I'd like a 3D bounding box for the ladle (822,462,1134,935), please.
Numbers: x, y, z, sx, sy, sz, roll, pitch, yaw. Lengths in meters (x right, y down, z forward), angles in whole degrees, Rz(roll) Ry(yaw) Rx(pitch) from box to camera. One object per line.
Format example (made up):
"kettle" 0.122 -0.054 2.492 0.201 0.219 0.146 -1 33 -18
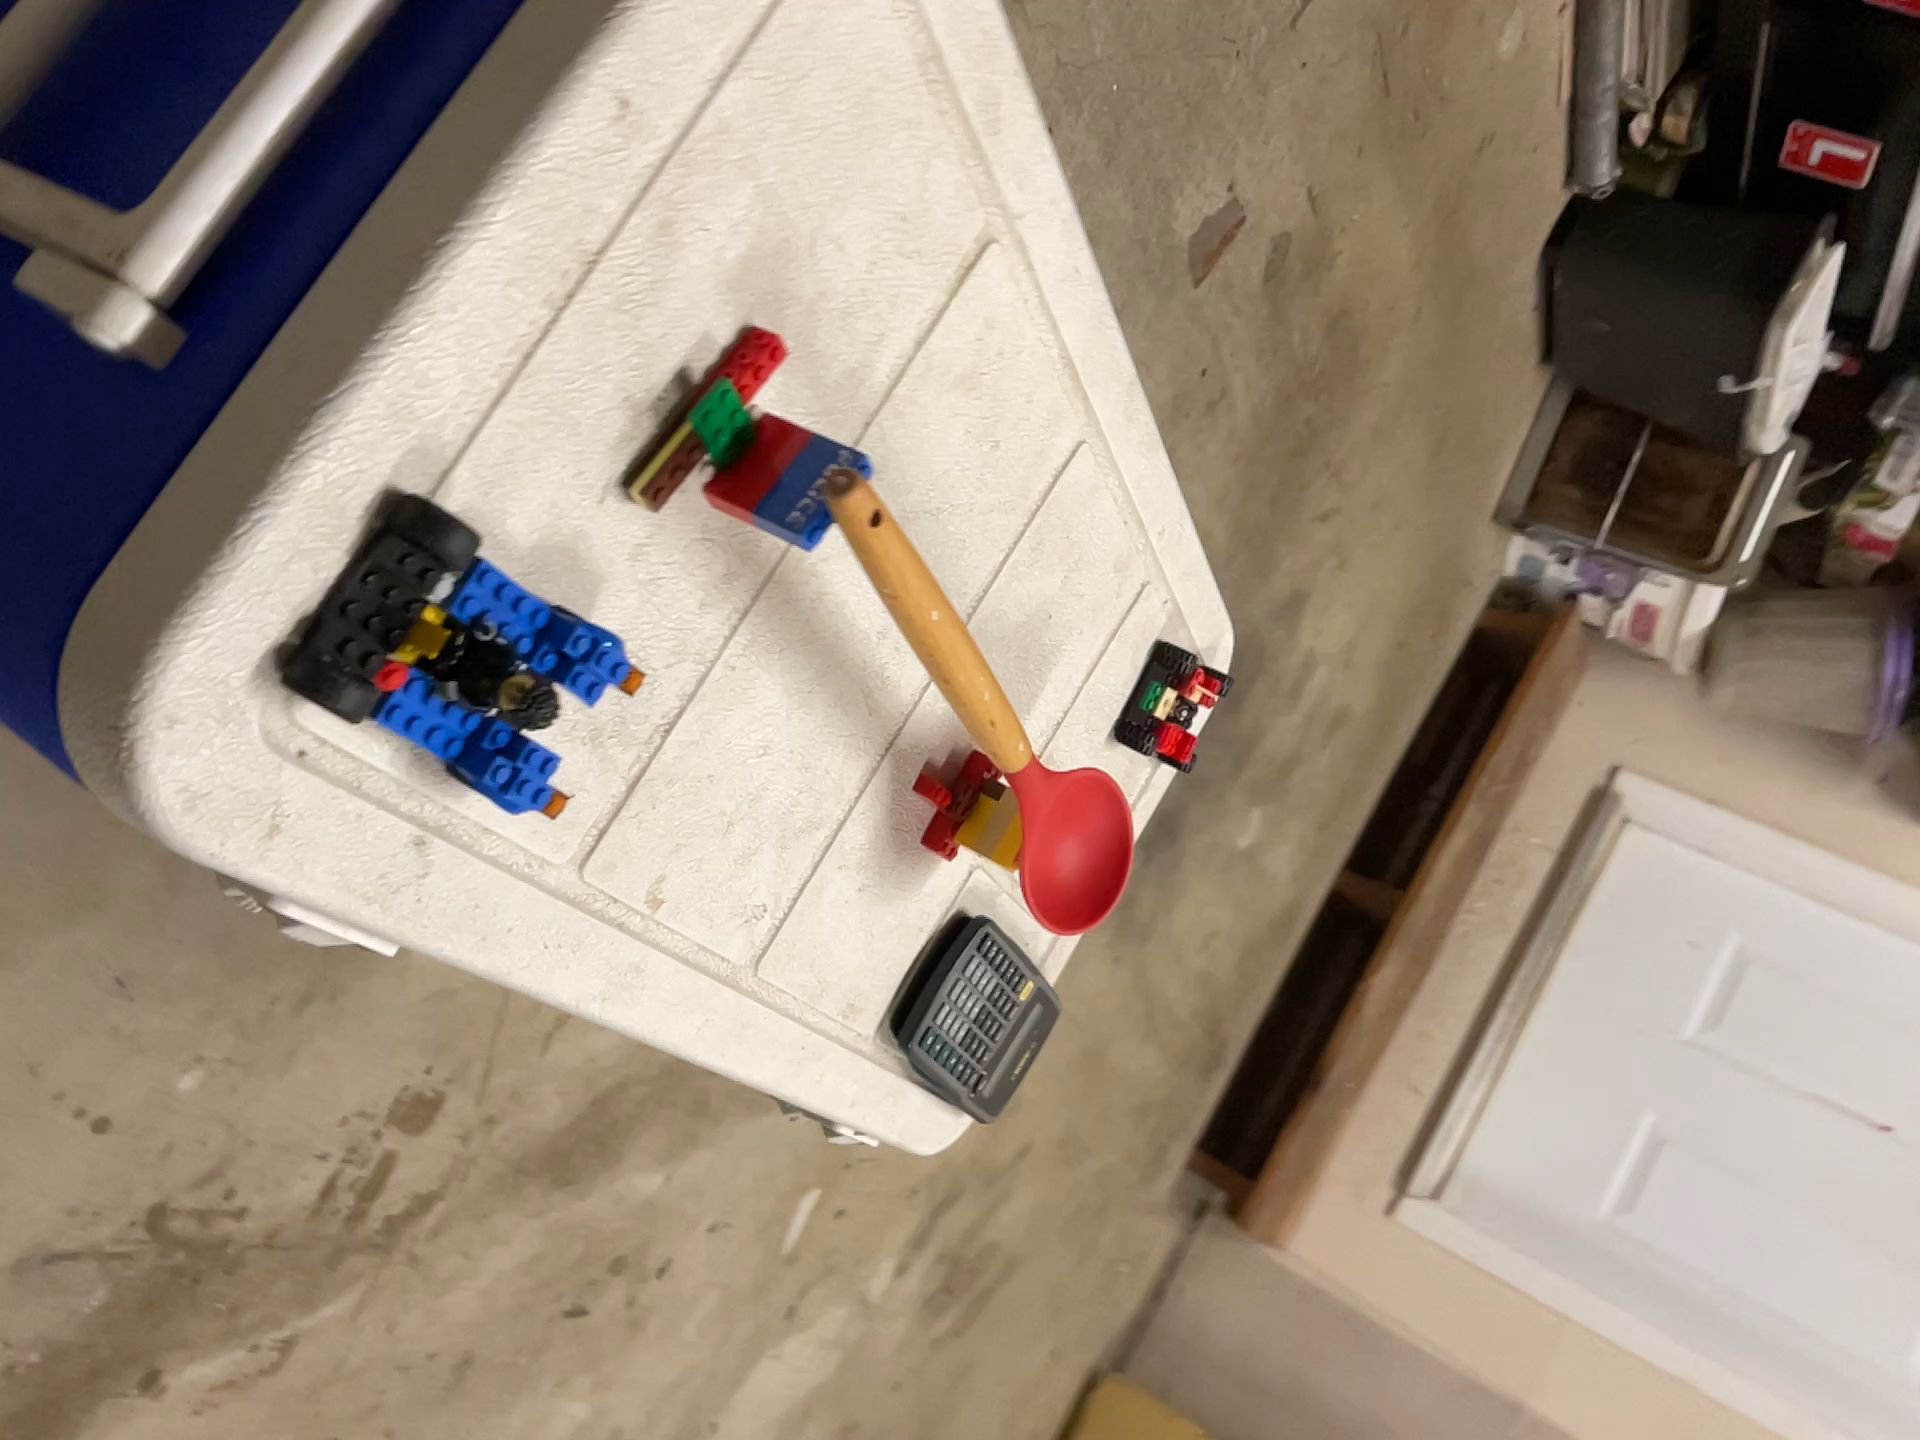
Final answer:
"ladle" 0.012 0.002 0.564 0.069 0.031 0.315 -61 153 -16
